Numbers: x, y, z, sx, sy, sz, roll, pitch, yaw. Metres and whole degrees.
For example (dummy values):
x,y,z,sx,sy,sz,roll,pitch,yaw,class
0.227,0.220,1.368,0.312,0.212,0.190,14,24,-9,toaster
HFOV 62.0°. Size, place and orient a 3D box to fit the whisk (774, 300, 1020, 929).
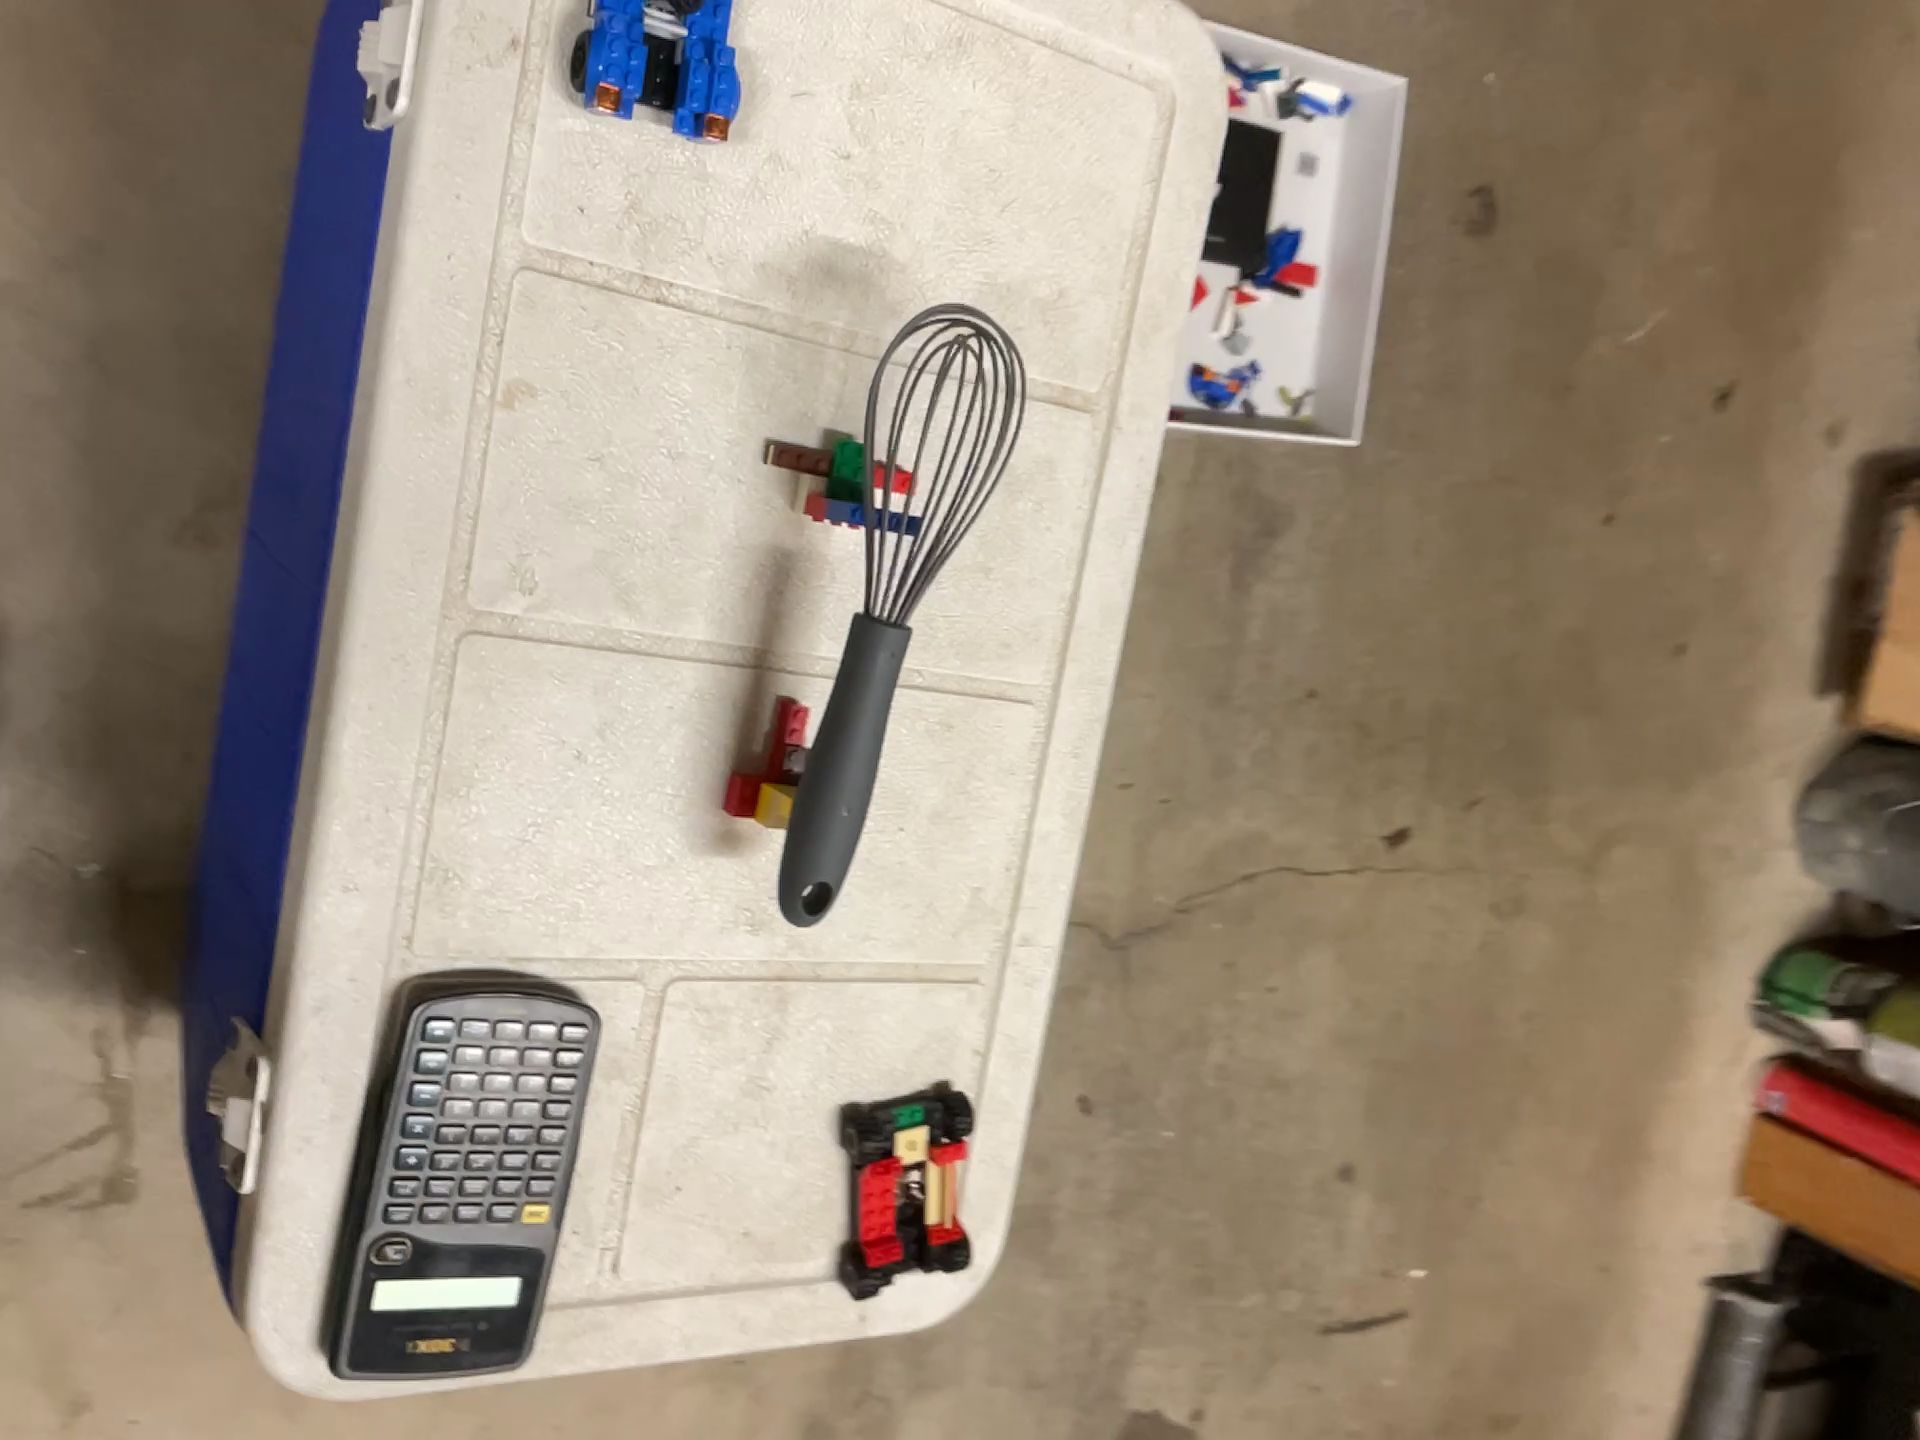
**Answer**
x,y,z,sx,sy,sz,roll,pitch,yaw,class
-0.031,-0.035,0.588,0.055,0.055,0.239,11,100,-31,whisk
